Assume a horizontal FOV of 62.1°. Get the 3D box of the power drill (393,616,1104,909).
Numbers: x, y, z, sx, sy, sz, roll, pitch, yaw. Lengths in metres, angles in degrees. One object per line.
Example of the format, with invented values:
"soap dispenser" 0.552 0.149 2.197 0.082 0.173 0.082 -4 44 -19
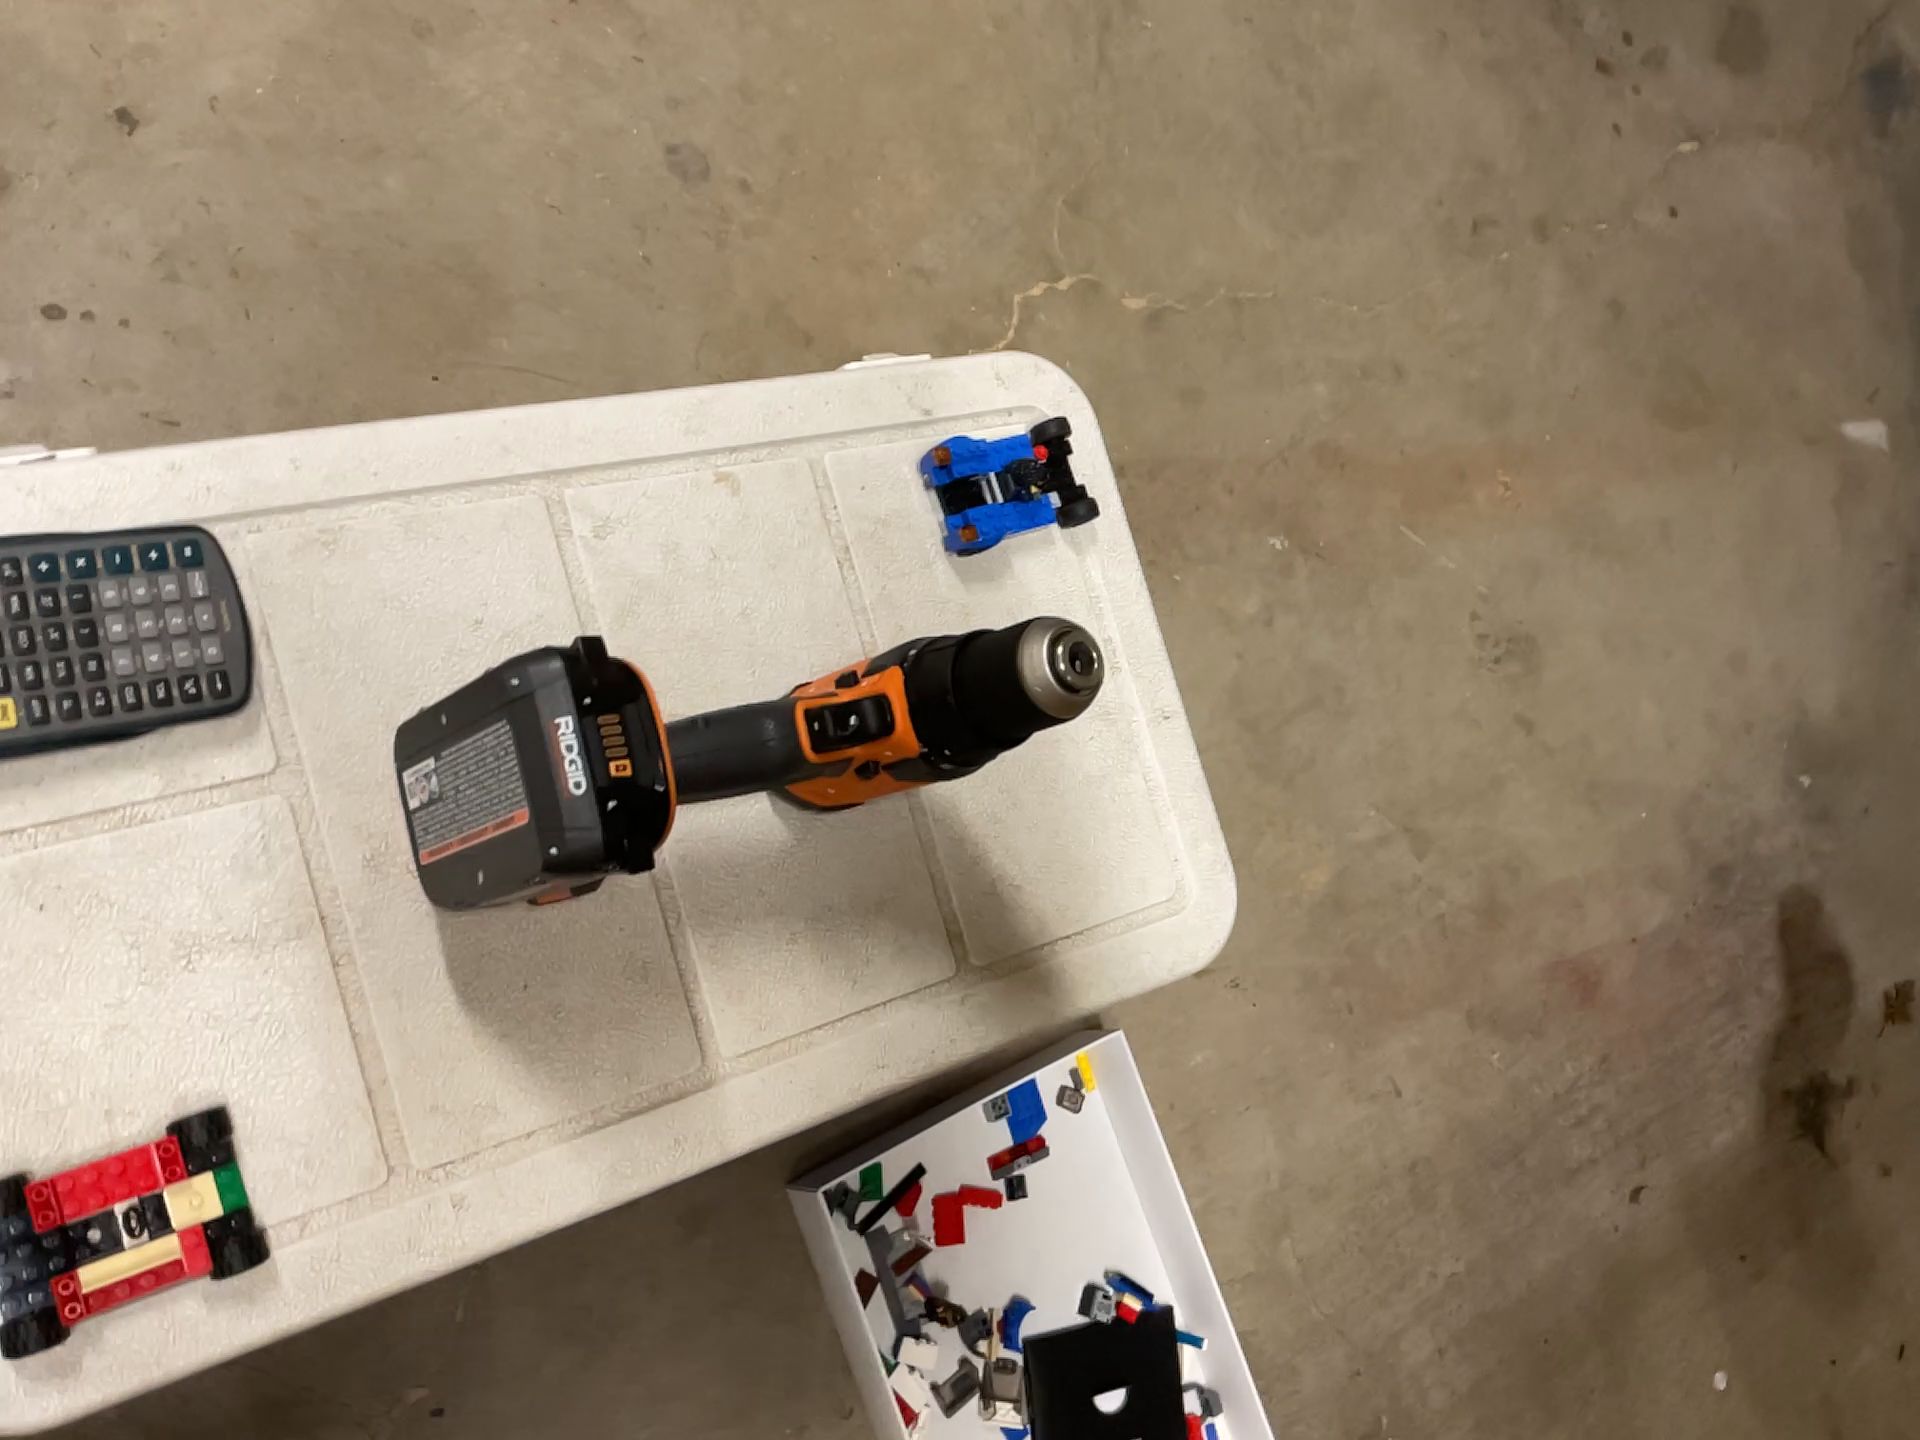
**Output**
"power drill" -0.072 0.007 0.604 0.226 0.185 0.084 -9 85 -41
